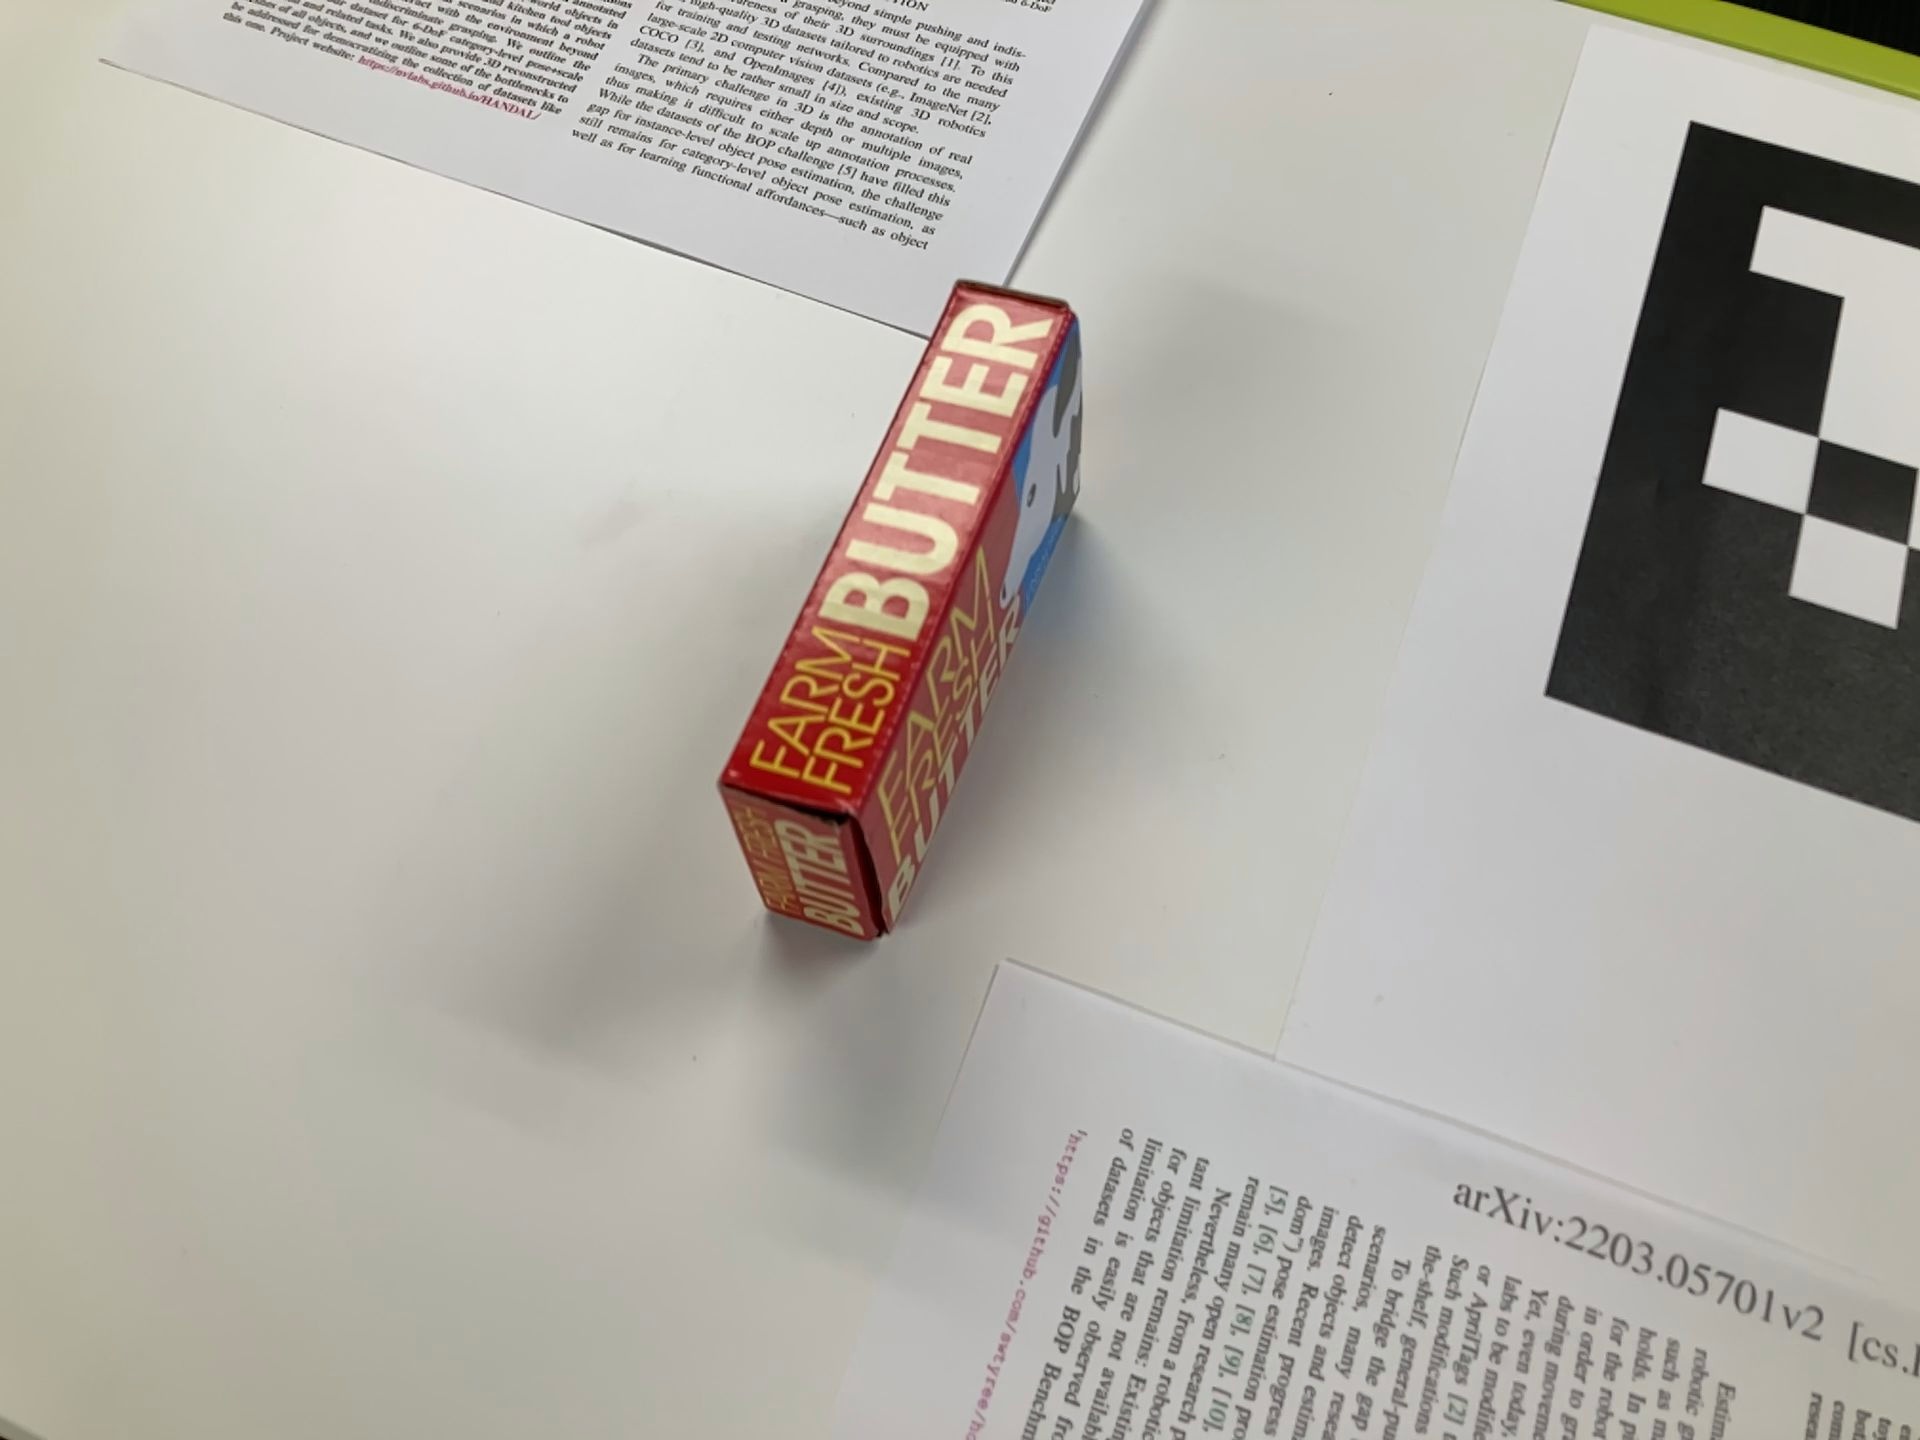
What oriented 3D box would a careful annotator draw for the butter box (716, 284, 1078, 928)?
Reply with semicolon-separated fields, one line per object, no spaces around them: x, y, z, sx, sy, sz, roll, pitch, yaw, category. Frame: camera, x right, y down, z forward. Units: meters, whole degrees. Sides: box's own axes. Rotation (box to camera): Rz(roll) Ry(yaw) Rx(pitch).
-0.006;-0.019;0.276;0.024;0.053;0.103;17;64;13;butter box
